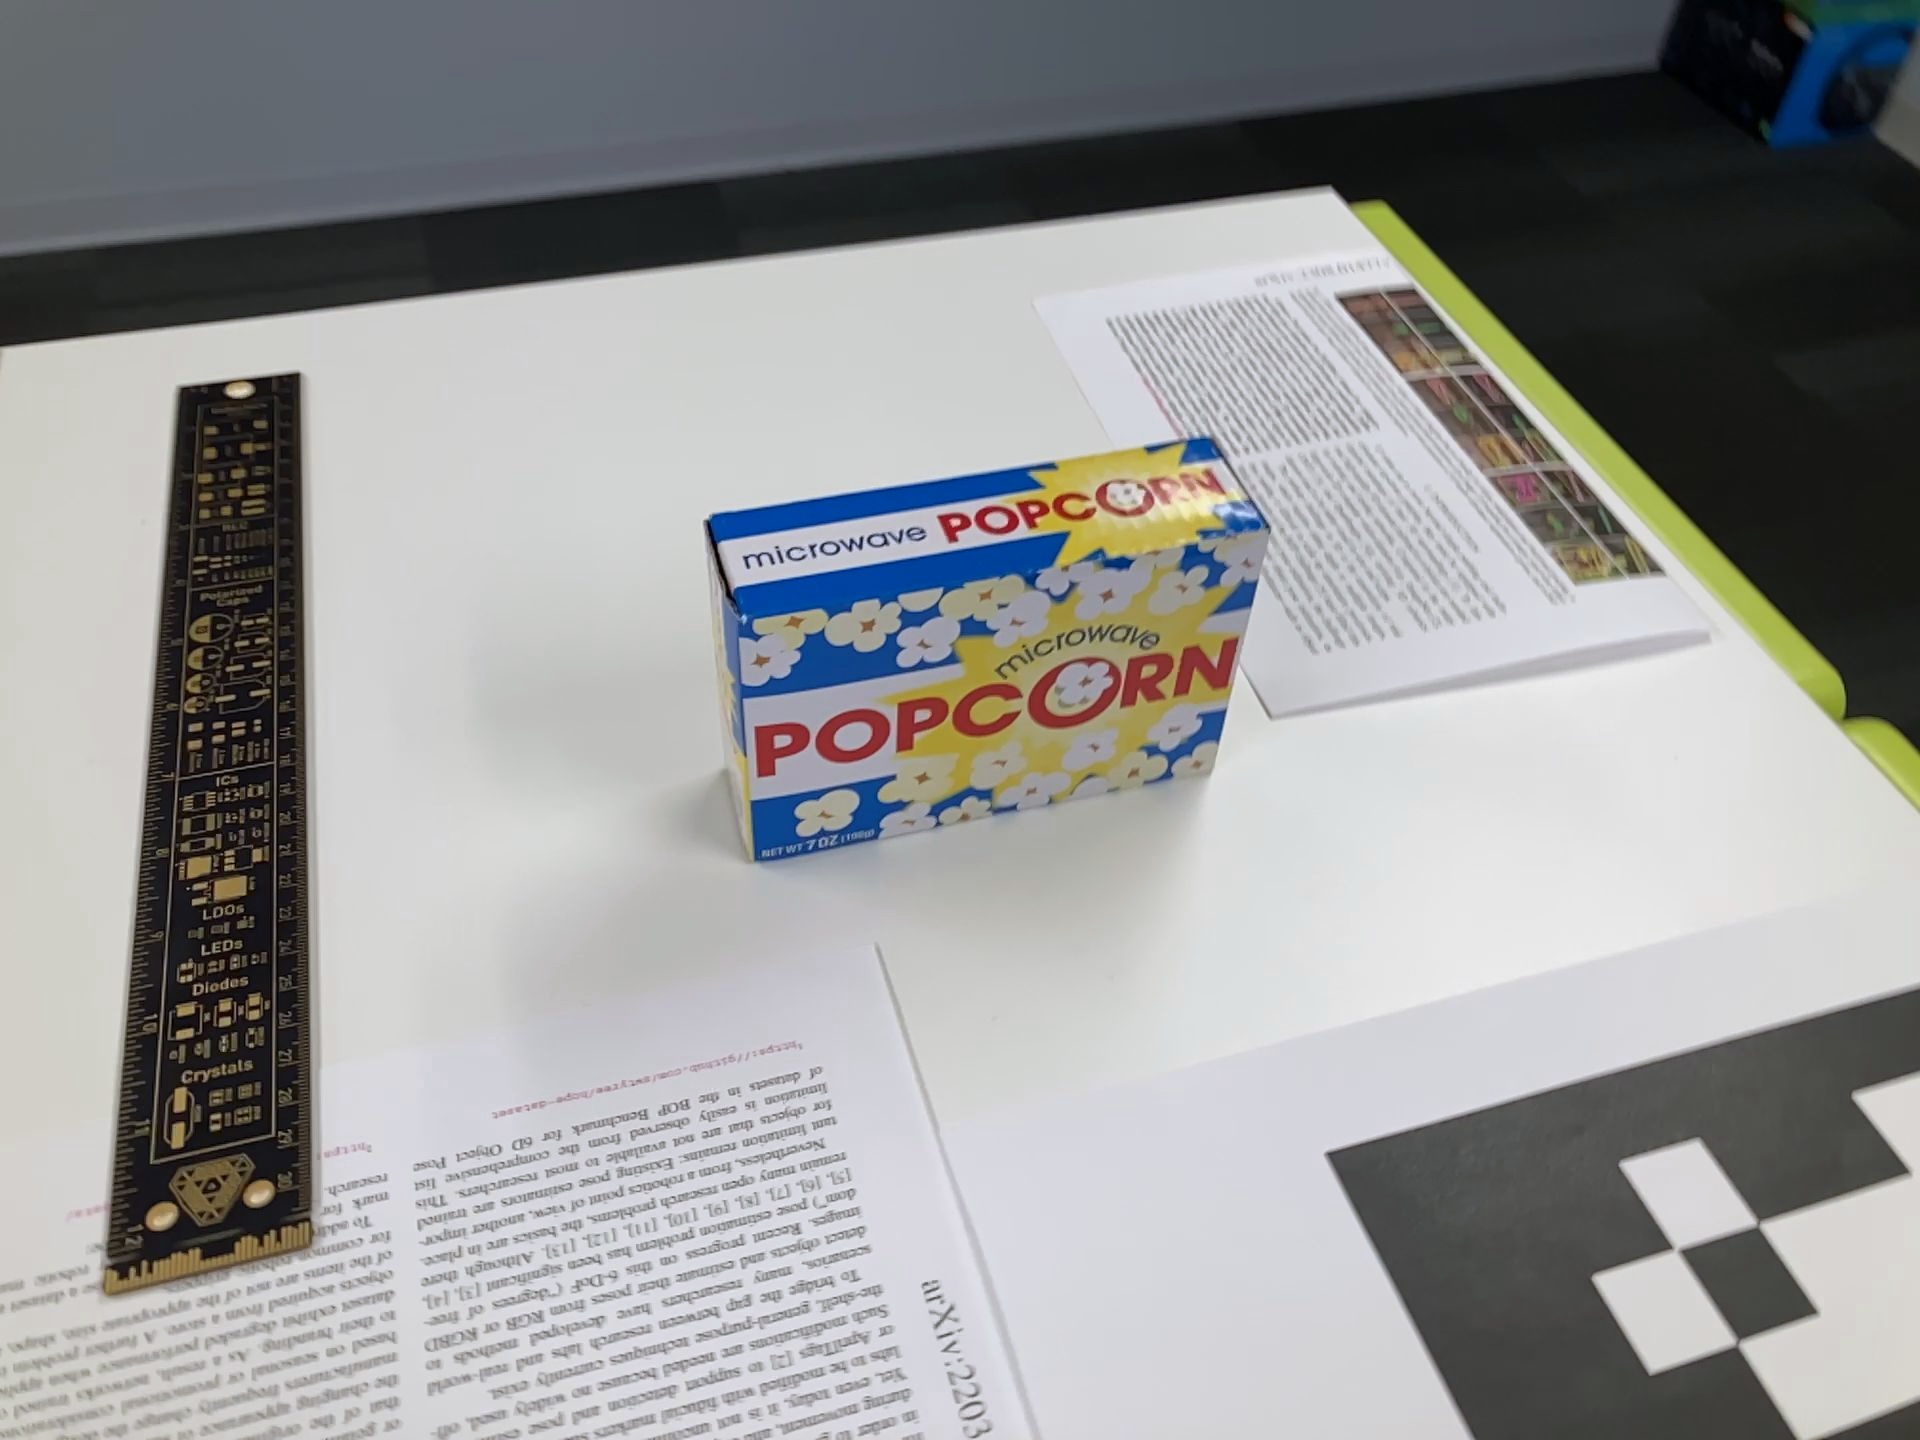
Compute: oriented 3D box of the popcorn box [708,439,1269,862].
[{"bbox_3d":[0.005,-0.016,0.388,0.126,0.085,0.038,-11,47,-13],"label":"popcorn box"}]
